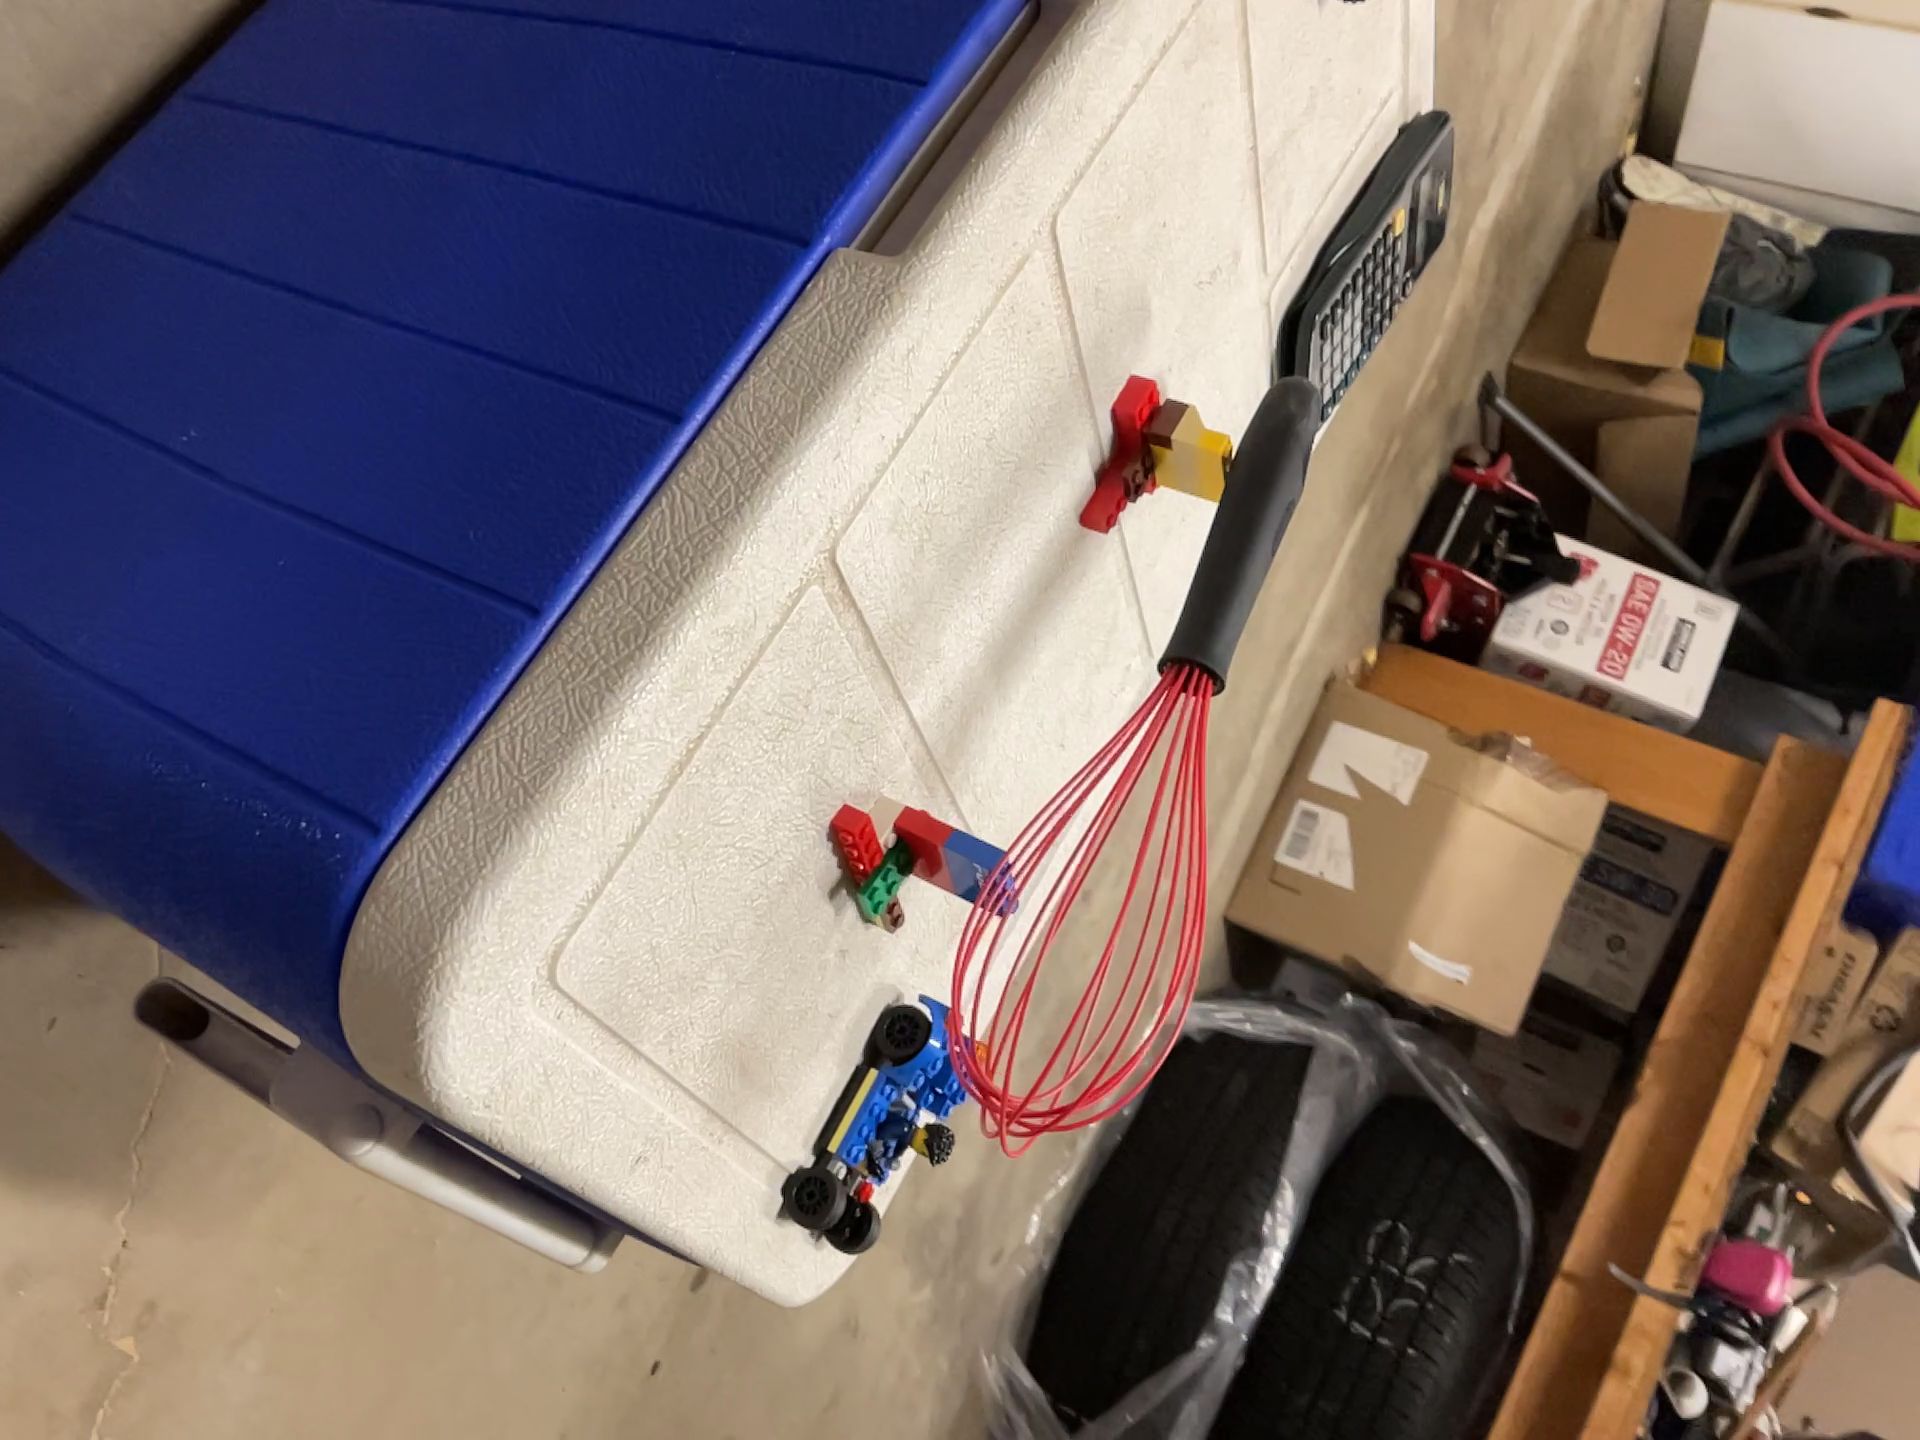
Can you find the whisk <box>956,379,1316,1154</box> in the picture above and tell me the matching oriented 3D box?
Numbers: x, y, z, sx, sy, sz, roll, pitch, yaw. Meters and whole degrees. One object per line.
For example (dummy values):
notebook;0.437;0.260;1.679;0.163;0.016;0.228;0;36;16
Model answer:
whisk;0.068;0.001;0.520;0.296;0.073;0.073;-66;153;-25
